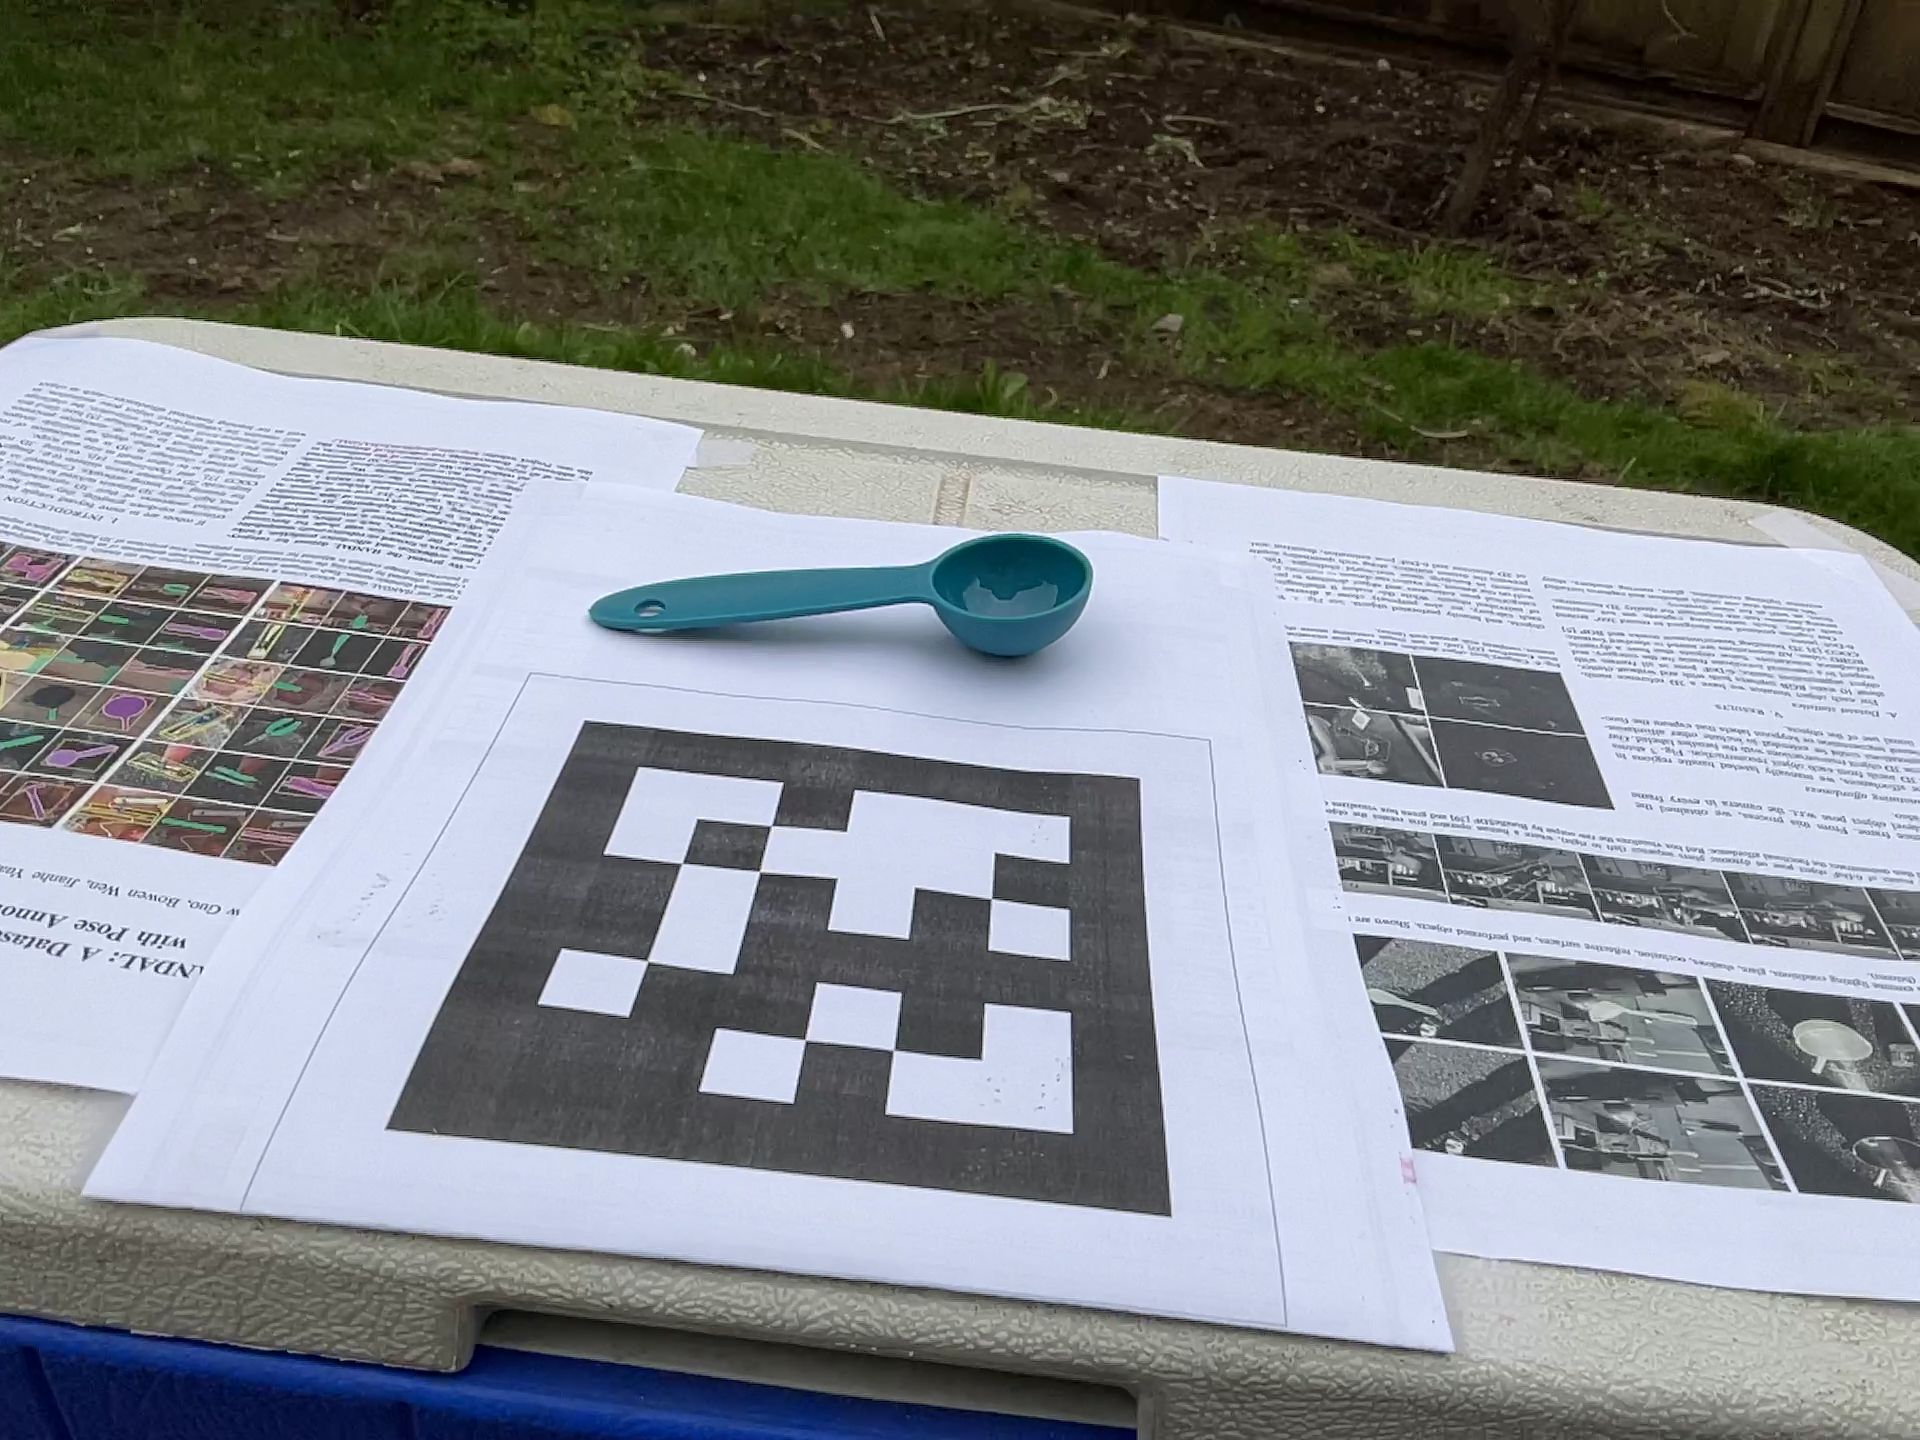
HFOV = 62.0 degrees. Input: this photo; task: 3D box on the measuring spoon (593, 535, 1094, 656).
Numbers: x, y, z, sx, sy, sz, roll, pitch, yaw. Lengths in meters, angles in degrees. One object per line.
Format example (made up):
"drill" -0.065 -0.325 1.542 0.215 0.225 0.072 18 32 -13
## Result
"measuring spoon" -0.030 -0.026 0.413 0.128 0.021 0.042 -4 35 3
